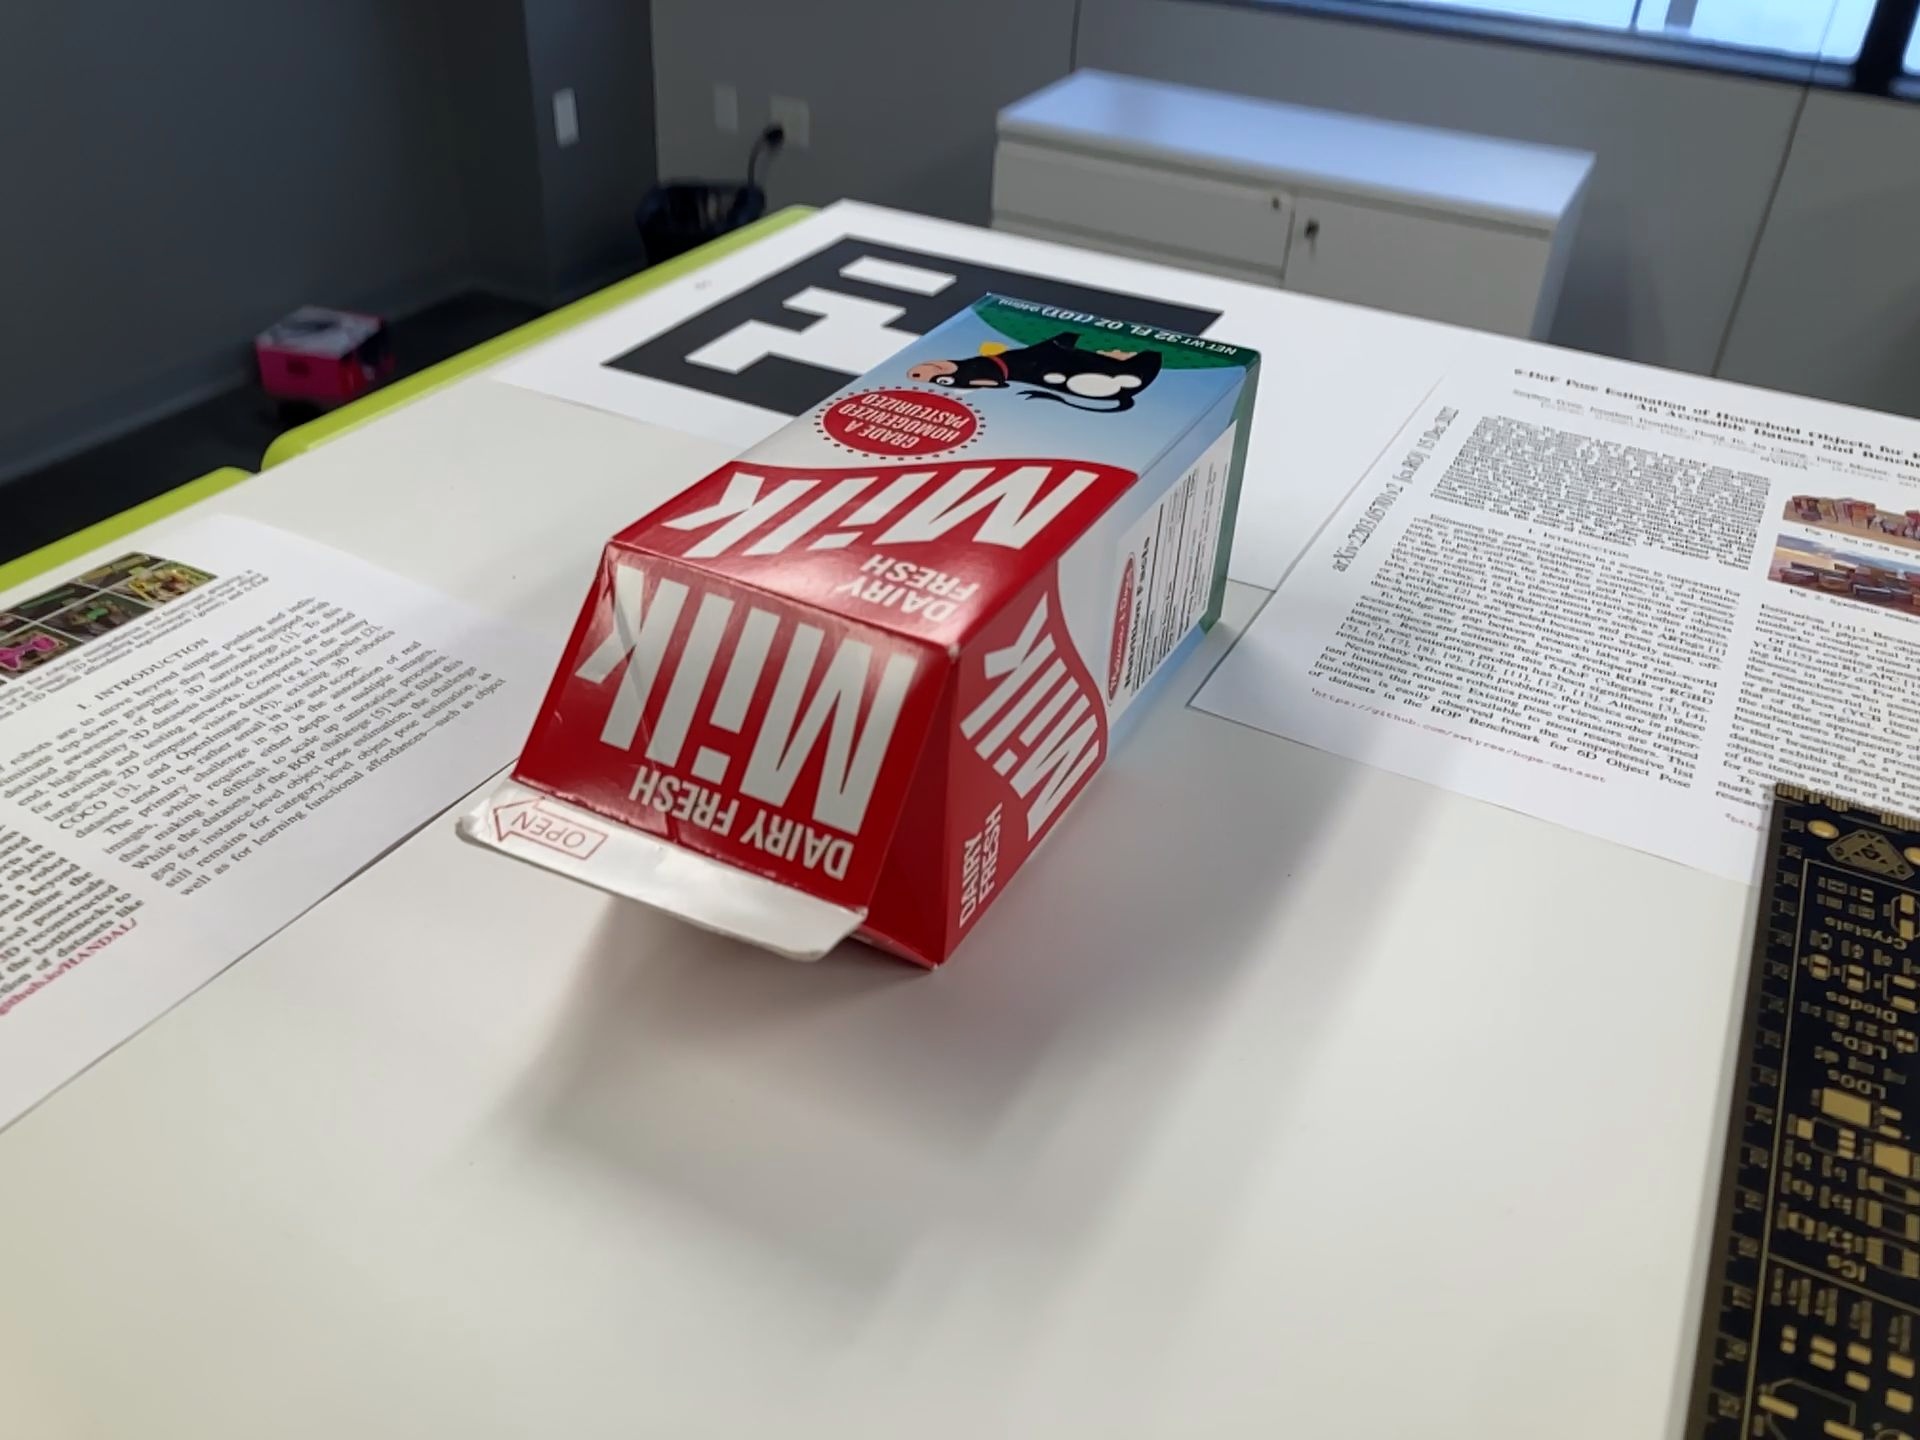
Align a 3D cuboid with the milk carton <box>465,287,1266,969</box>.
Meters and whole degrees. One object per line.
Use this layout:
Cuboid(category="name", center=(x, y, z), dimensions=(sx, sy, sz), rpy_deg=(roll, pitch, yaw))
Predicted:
Cuboid(category="milk carton", center=(-0.007, -0.020, 0.321), dimensions=(0.072, 0.073, 0.190), rpy_deg=(19, 38, 21))
